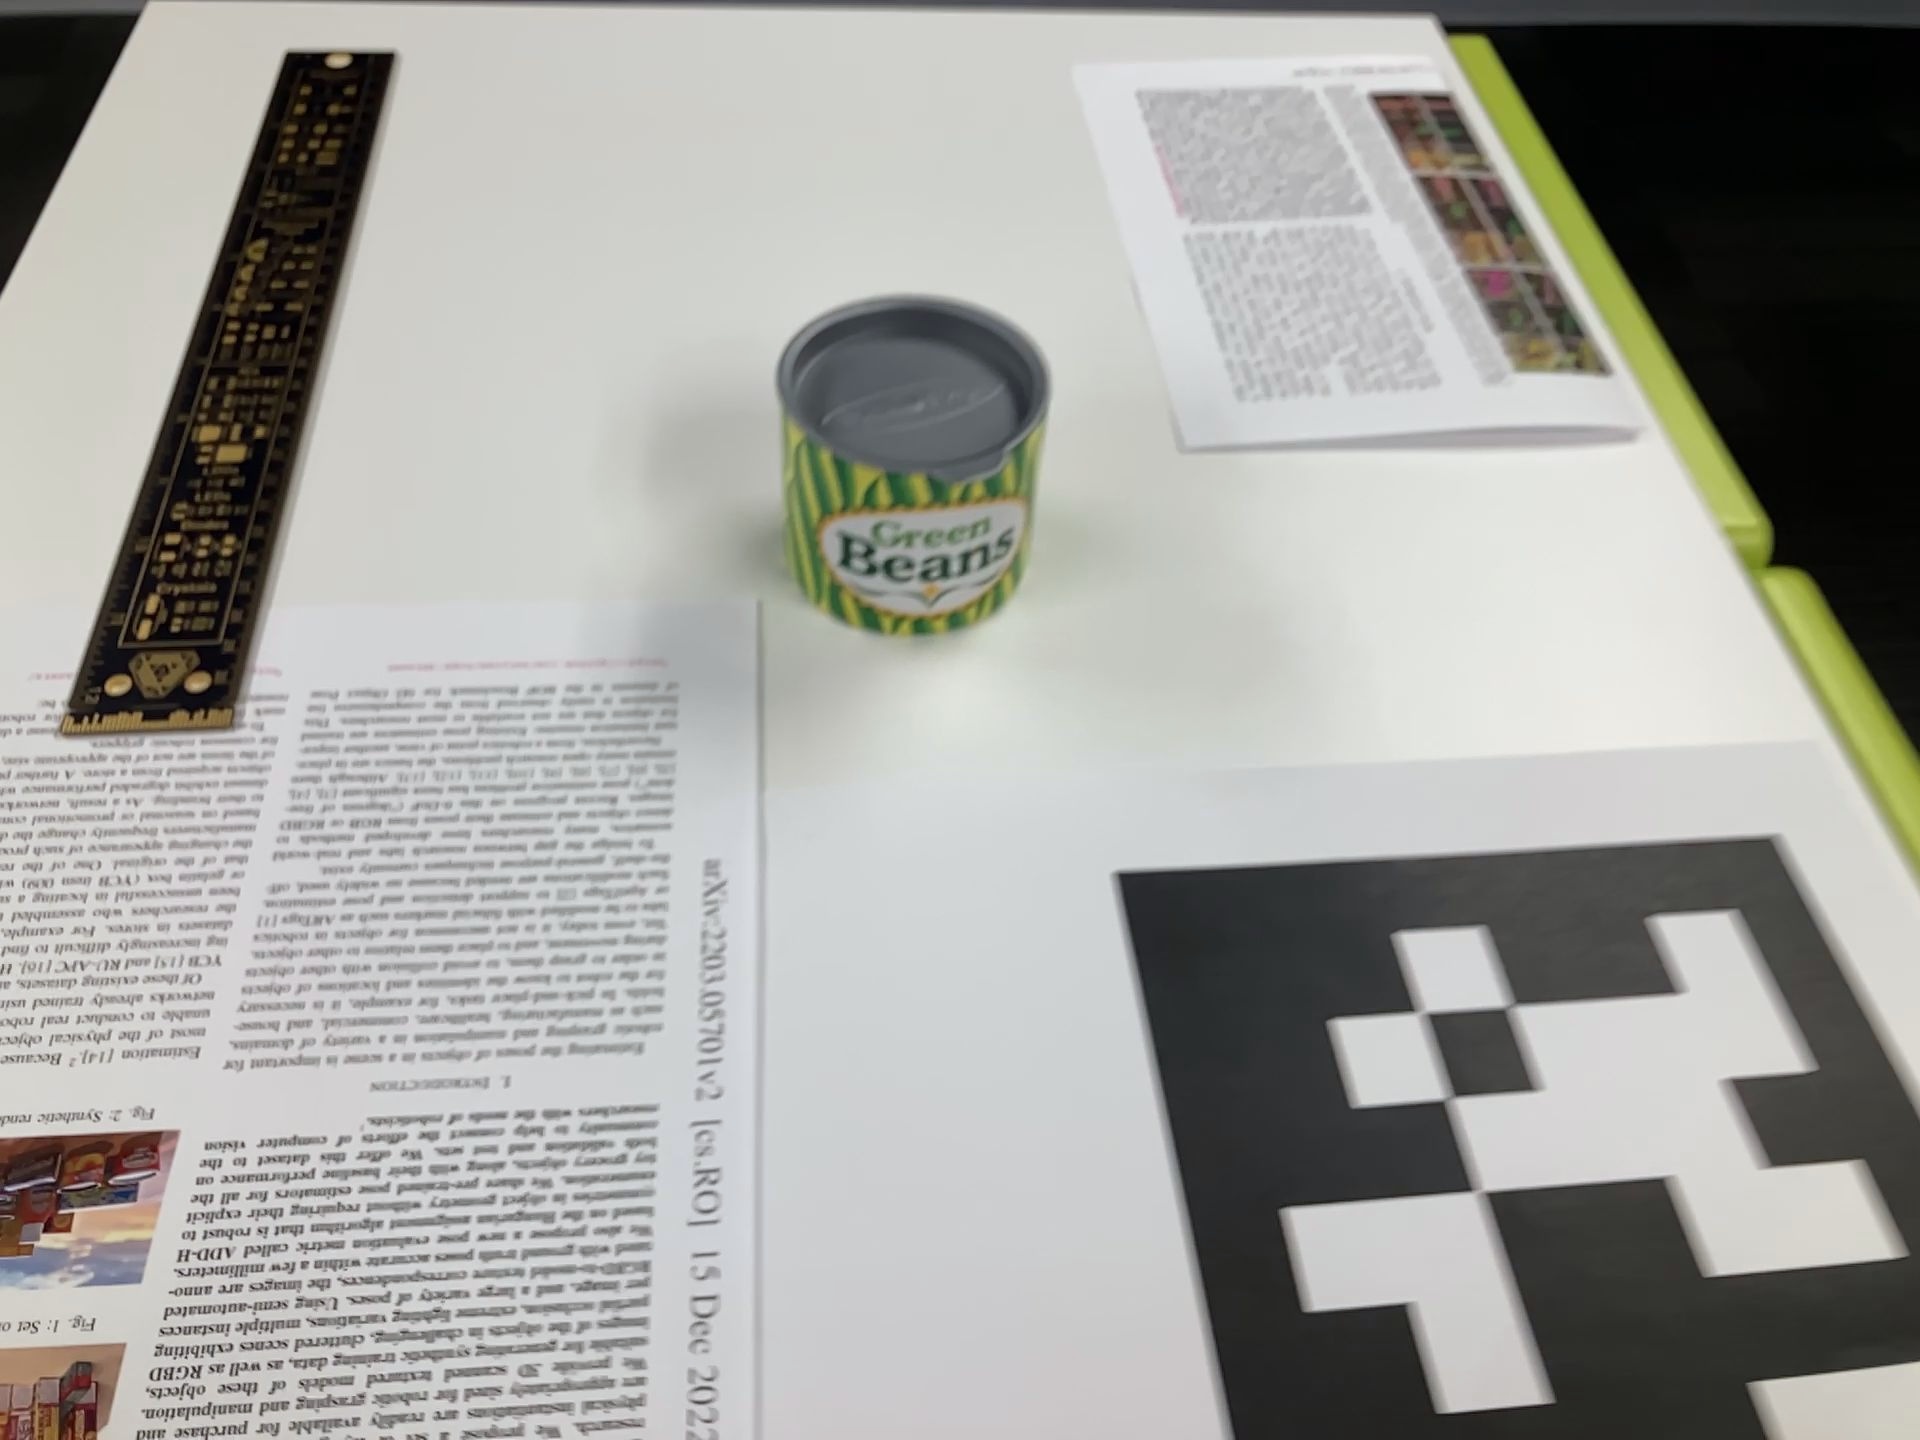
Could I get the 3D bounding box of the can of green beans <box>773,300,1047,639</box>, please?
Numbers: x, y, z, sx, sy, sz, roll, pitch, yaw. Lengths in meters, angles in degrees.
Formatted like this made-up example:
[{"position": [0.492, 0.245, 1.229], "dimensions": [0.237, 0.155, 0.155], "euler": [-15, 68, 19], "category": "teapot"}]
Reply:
[{"position": [-0.013, -0.063, 0.407], "dimensions": [0.071, 0.058, 0.071], "euler": [2, 50, -2], "category": "can of green beans"}]
